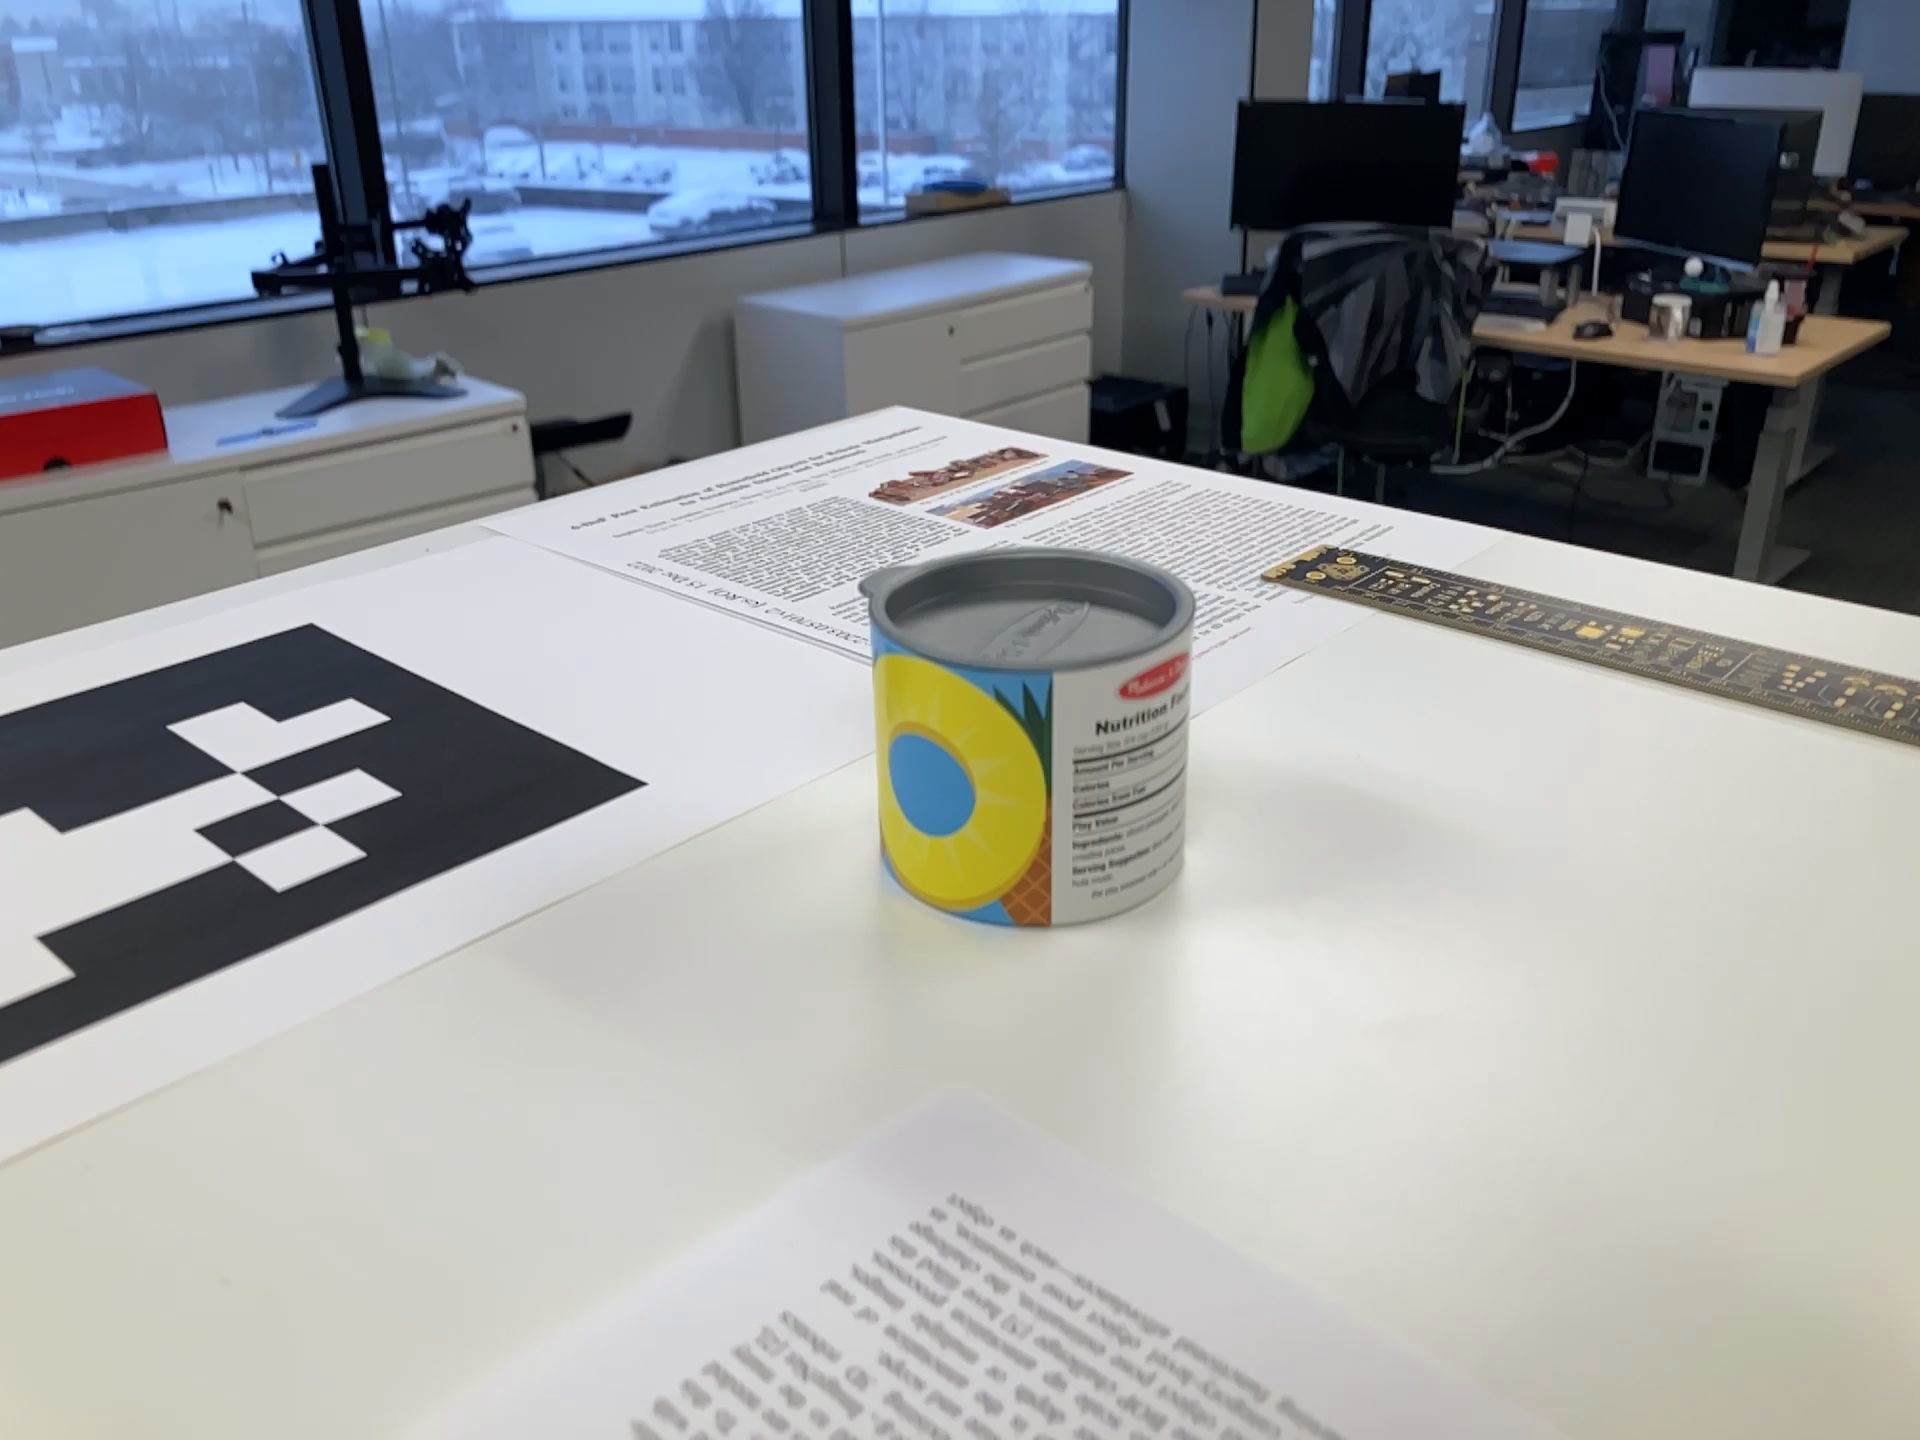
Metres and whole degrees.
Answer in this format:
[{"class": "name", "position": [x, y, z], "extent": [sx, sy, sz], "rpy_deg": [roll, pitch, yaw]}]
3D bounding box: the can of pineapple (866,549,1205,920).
[{"class": "can of pineapple", "position": [0.015, 0.001, 0.334], "extent": [0.071, 0.058, 0.071], "rpy_deg": [0, 24, 0]}]
